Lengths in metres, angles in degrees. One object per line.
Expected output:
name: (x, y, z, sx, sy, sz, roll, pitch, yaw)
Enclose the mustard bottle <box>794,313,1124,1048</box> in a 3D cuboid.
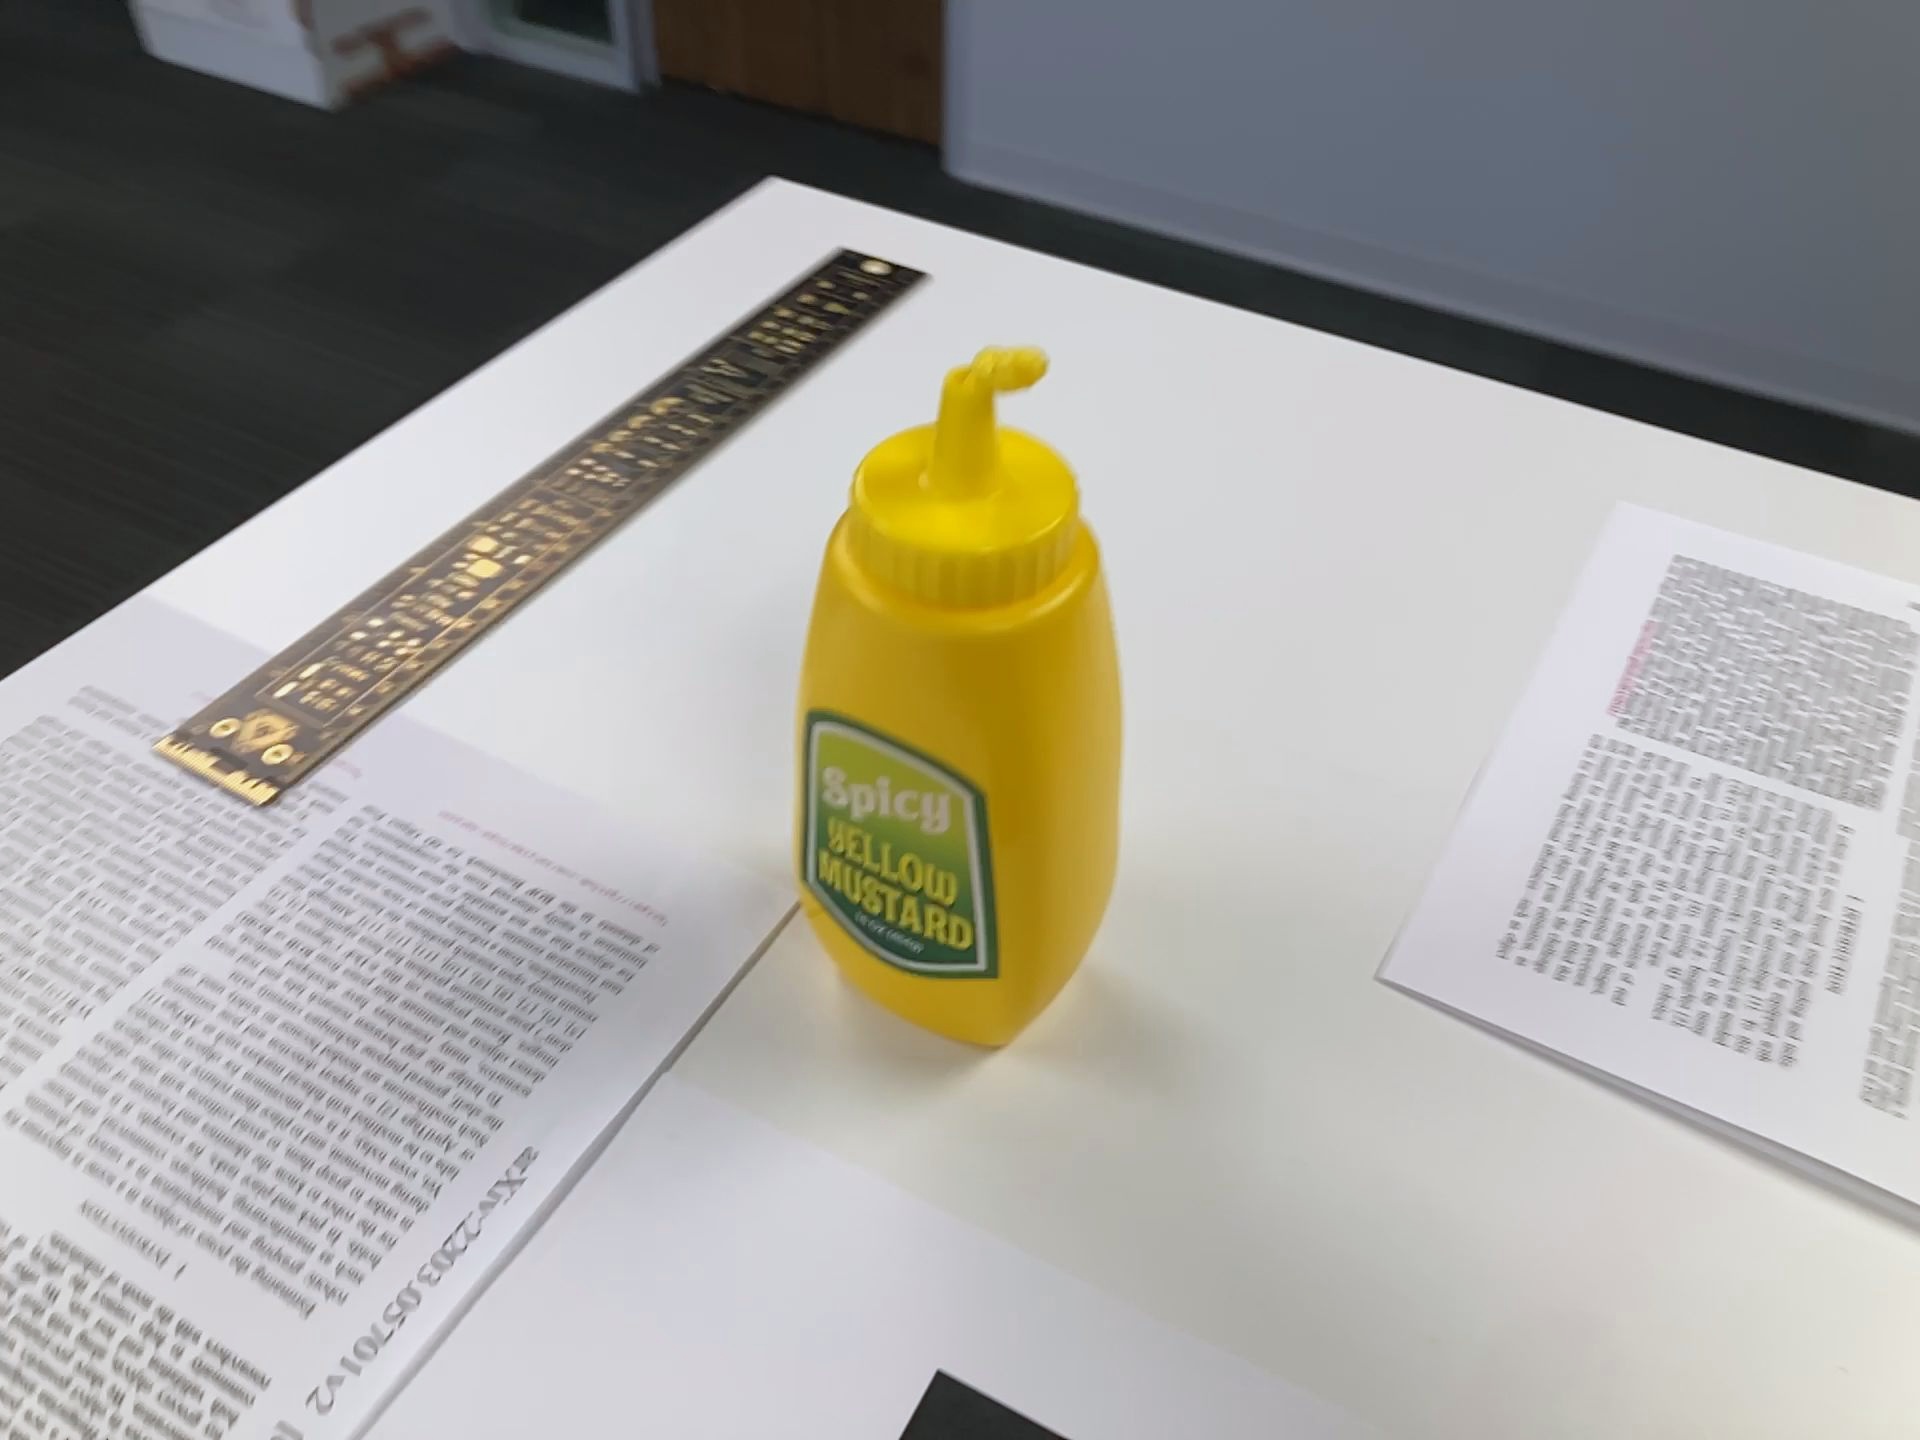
mustard bottle: (-0.001, -0.004, 0.302, 0.065, 0.160, 0.049, 24, 48, 23)
